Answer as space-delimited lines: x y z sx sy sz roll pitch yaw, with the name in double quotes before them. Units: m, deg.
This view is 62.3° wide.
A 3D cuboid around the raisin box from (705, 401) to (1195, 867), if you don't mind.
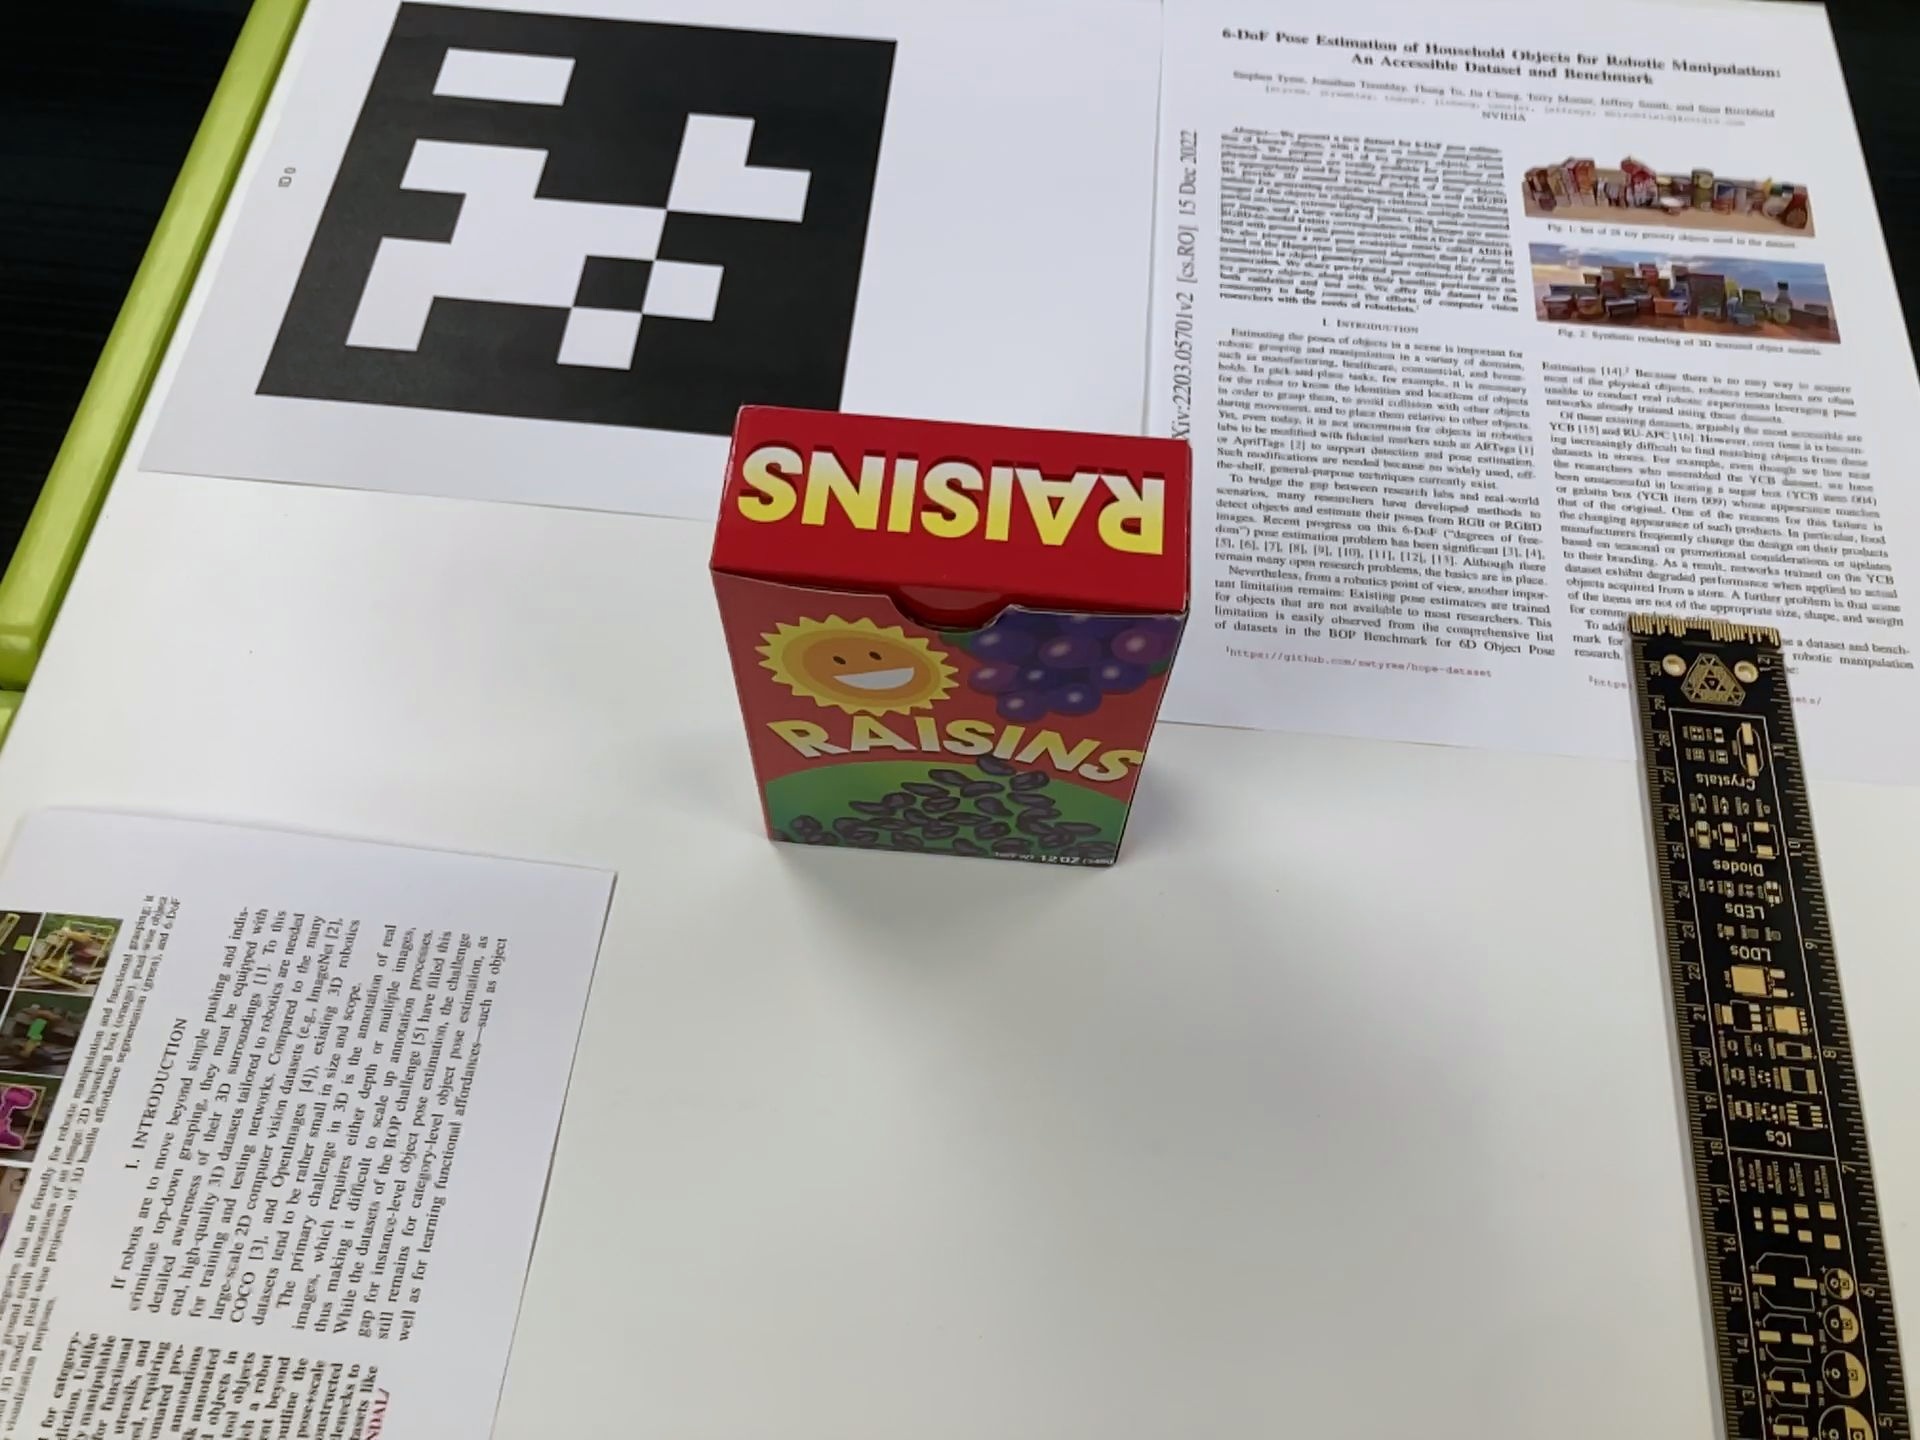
"raisin box" -0.002 -0.011 0.333 0.086 0.123 0.040 6 63 1
